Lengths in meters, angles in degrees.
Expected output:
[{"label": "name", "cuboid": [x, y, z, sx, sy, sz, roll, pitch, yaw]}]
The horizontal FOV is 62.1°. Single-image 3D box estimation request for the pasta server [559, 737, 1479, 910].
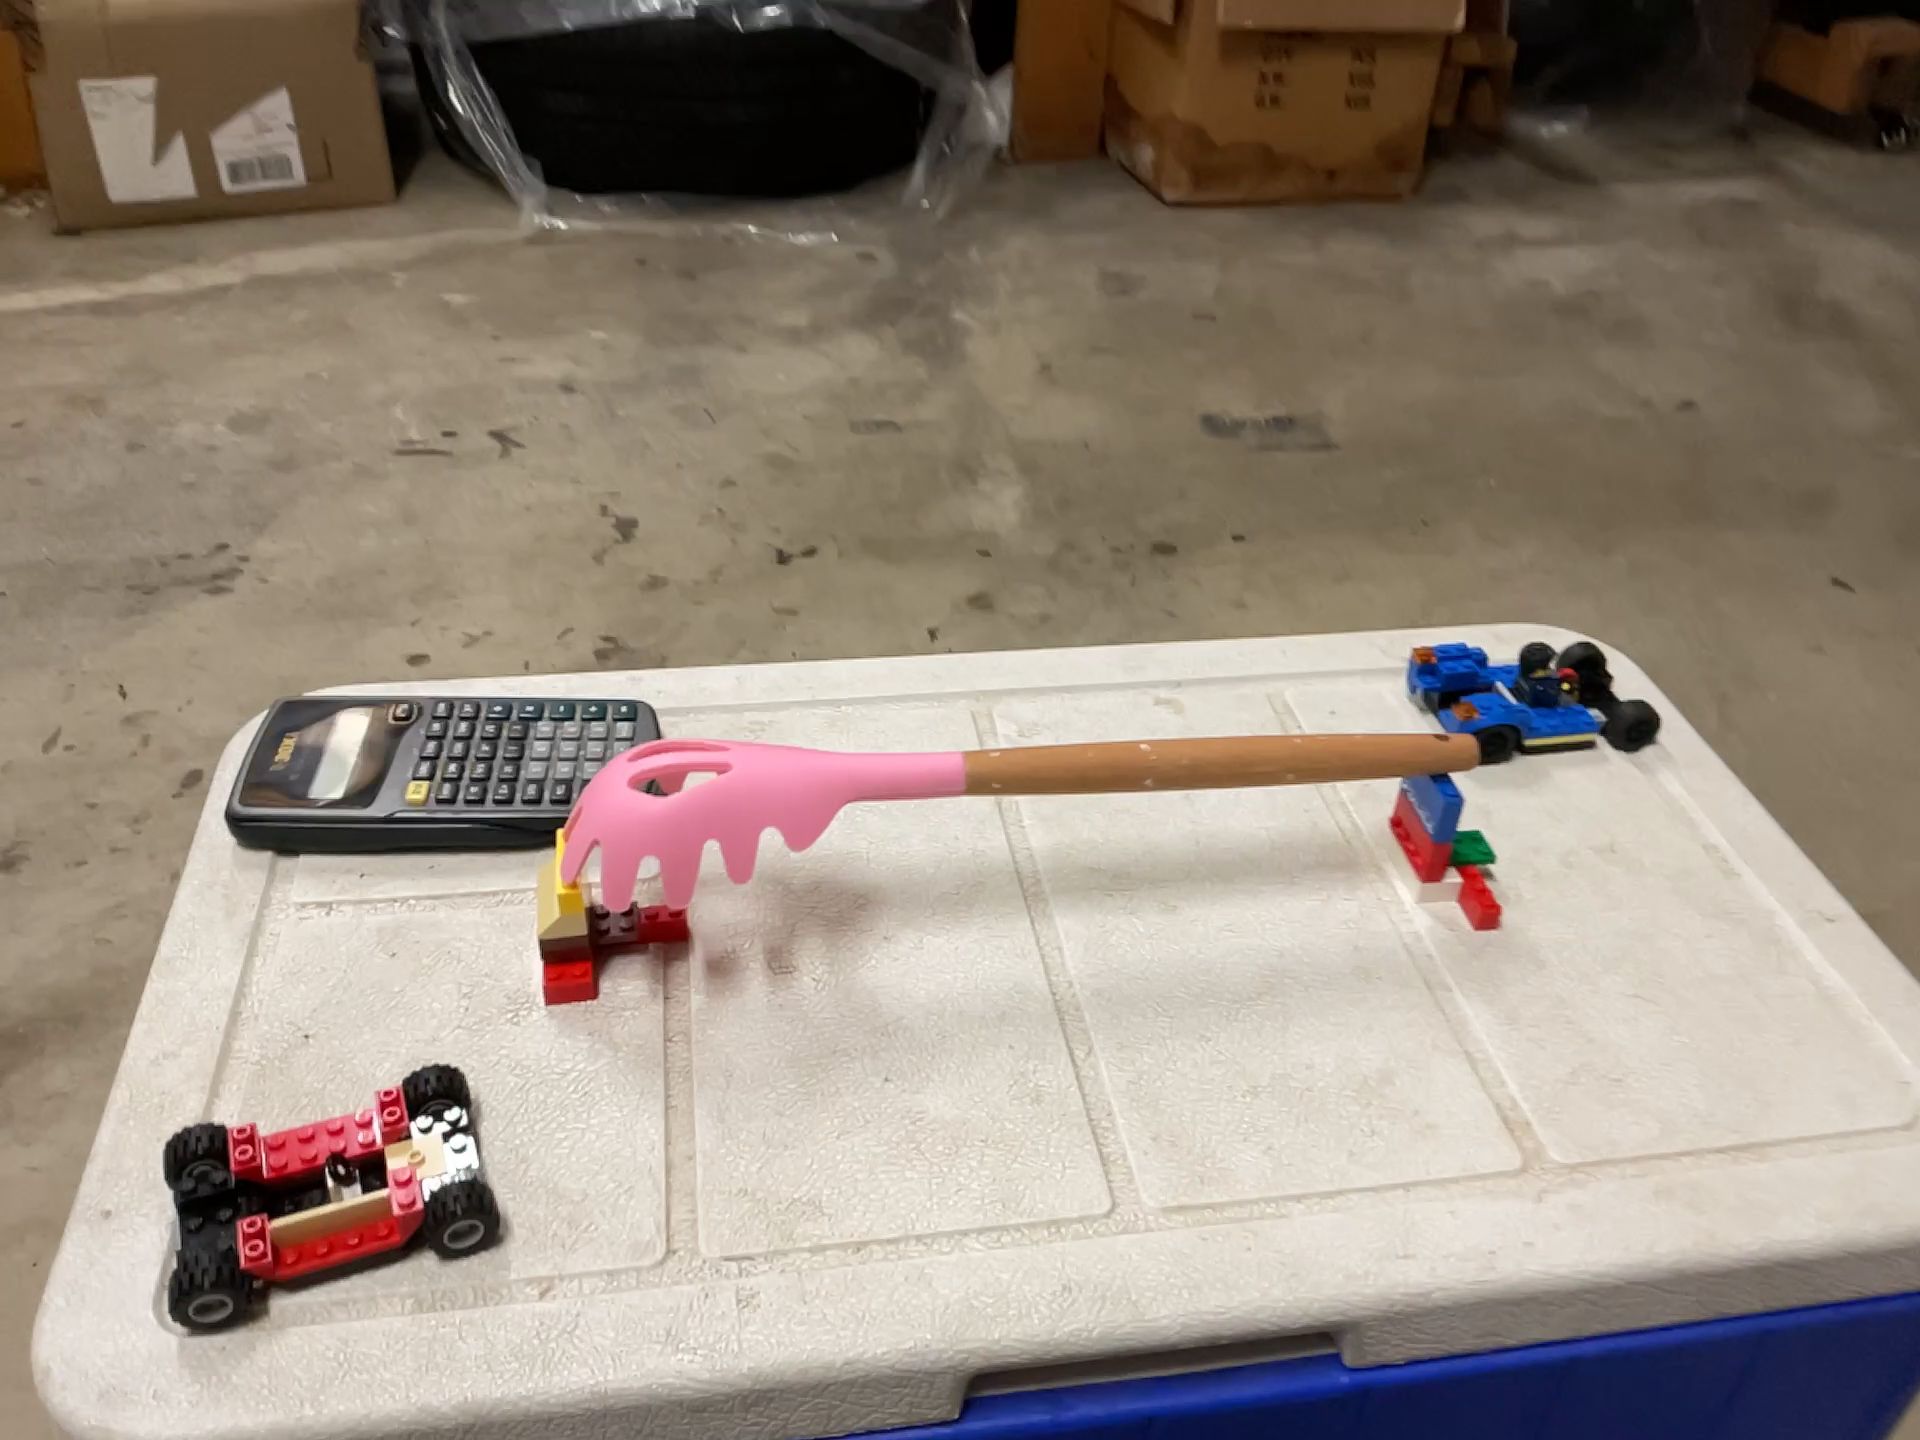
[{"label": "pasta server", "cuboid": [0.026, 0.024, 0.540, 0.316, 0.040, 0.060, -2, 35, -12]}]
